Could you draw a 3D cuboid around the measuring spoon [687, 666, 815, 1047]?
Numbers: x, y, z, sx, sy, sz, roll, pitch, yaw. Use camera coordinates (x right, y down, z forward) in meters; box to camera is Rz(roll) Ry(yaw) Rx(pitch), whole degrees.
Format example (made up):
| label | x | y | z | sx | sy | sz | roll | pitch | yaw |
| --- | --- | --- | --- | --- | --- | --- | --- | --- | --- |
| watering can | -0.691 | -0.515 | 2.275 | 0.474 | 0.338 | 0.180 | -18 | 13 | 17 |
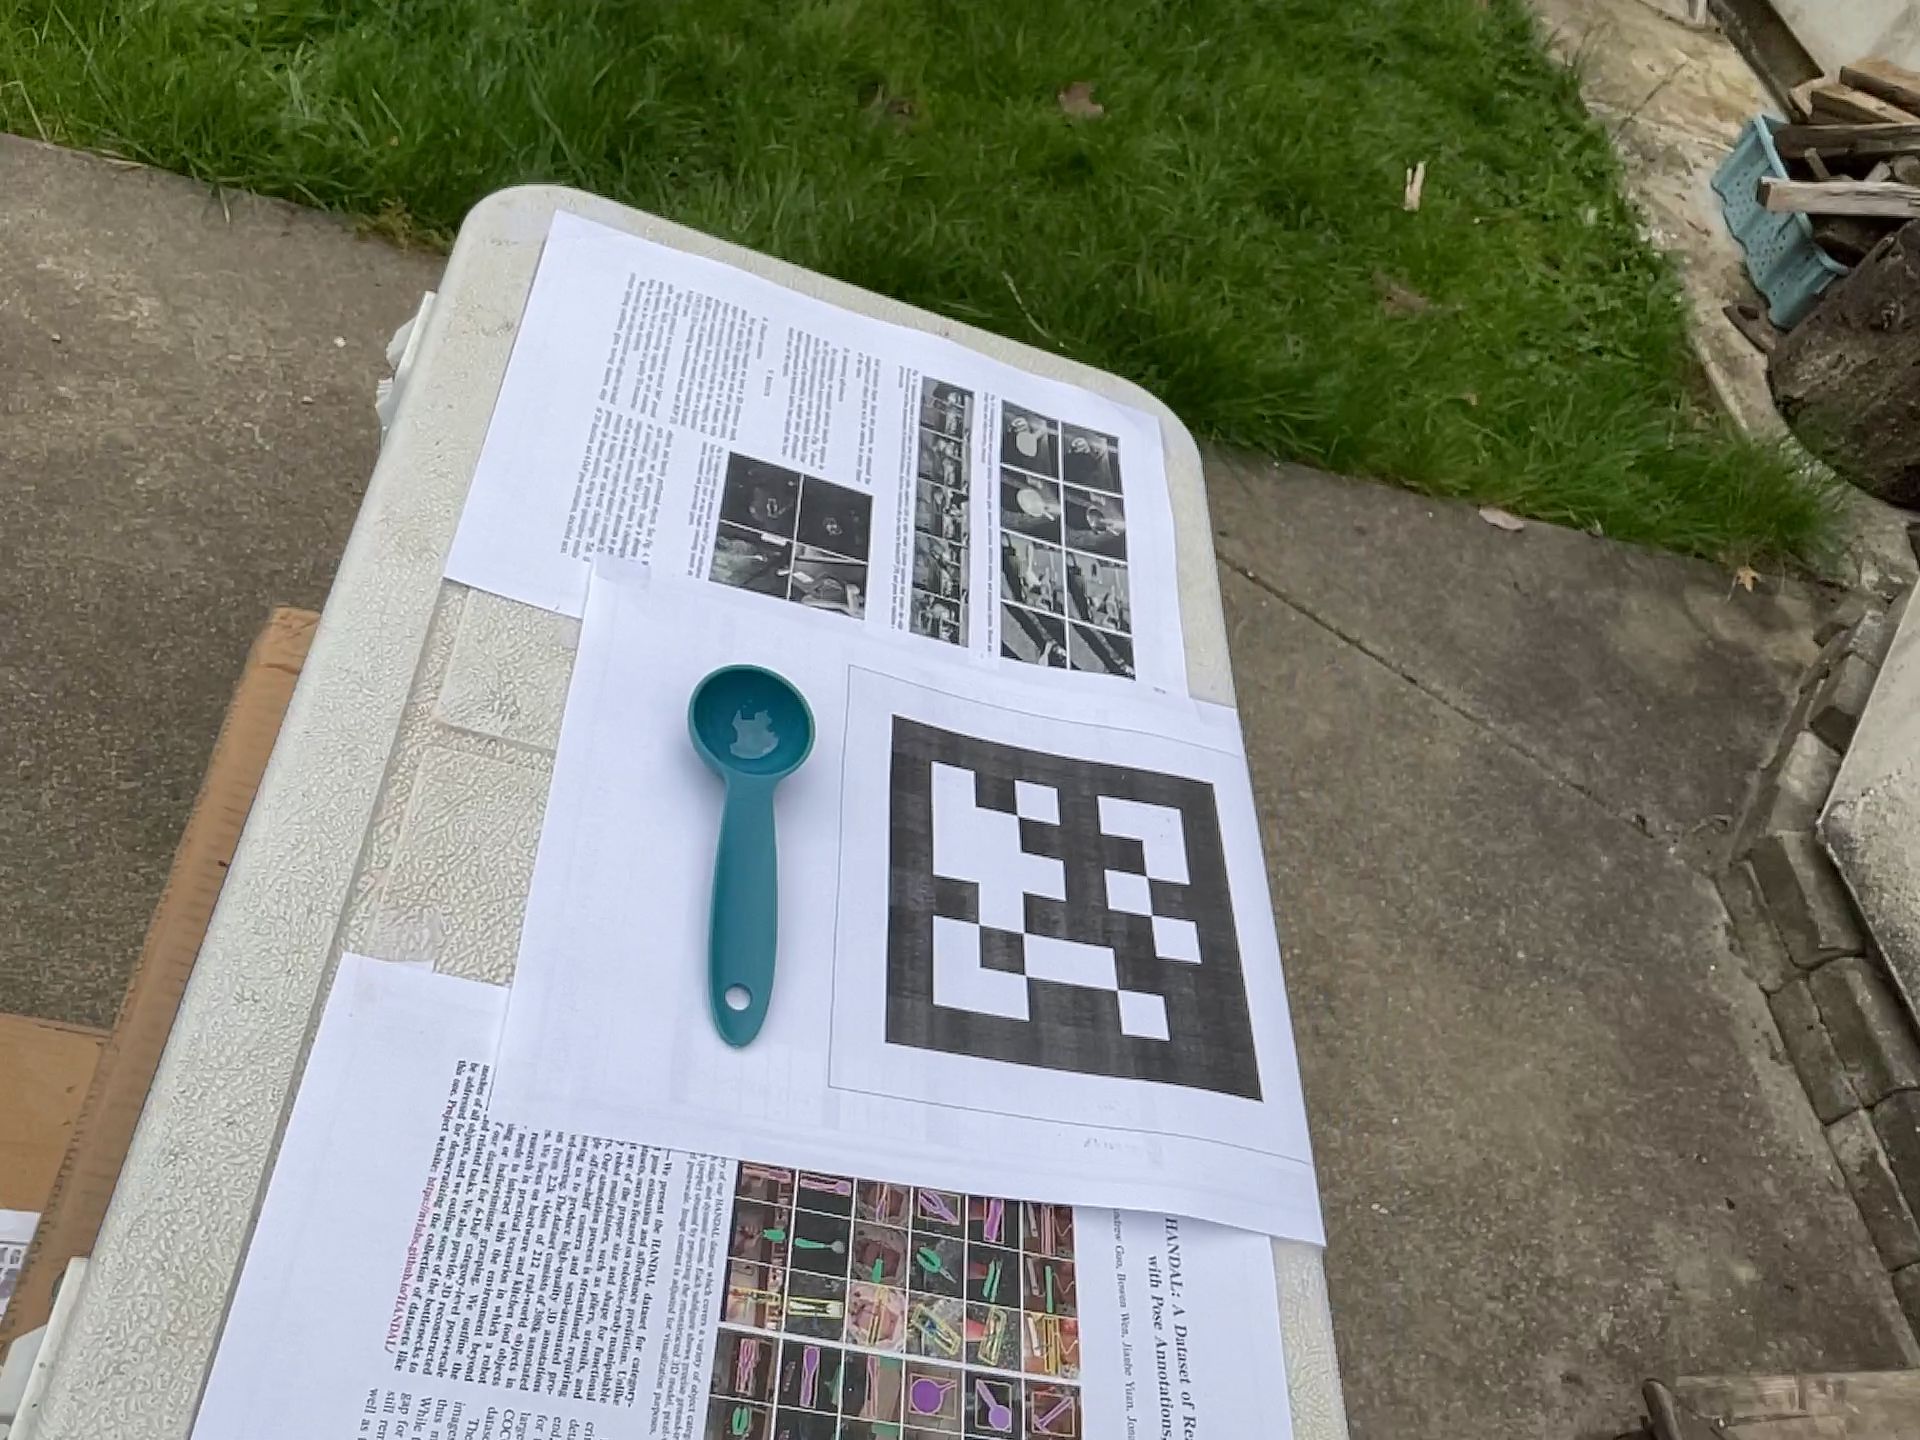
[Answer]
| label | x | y | z | sx | sy | sz | roll | pitch | yaw |
| --- | --- | --- | --- | --- | --- | --- | --- | --- | --- |
| measuring spoon | -0.070 | 0.042 | 0.502 | 0.042 | 0.021 | 0.129 | 11 | 58 | -19 |
